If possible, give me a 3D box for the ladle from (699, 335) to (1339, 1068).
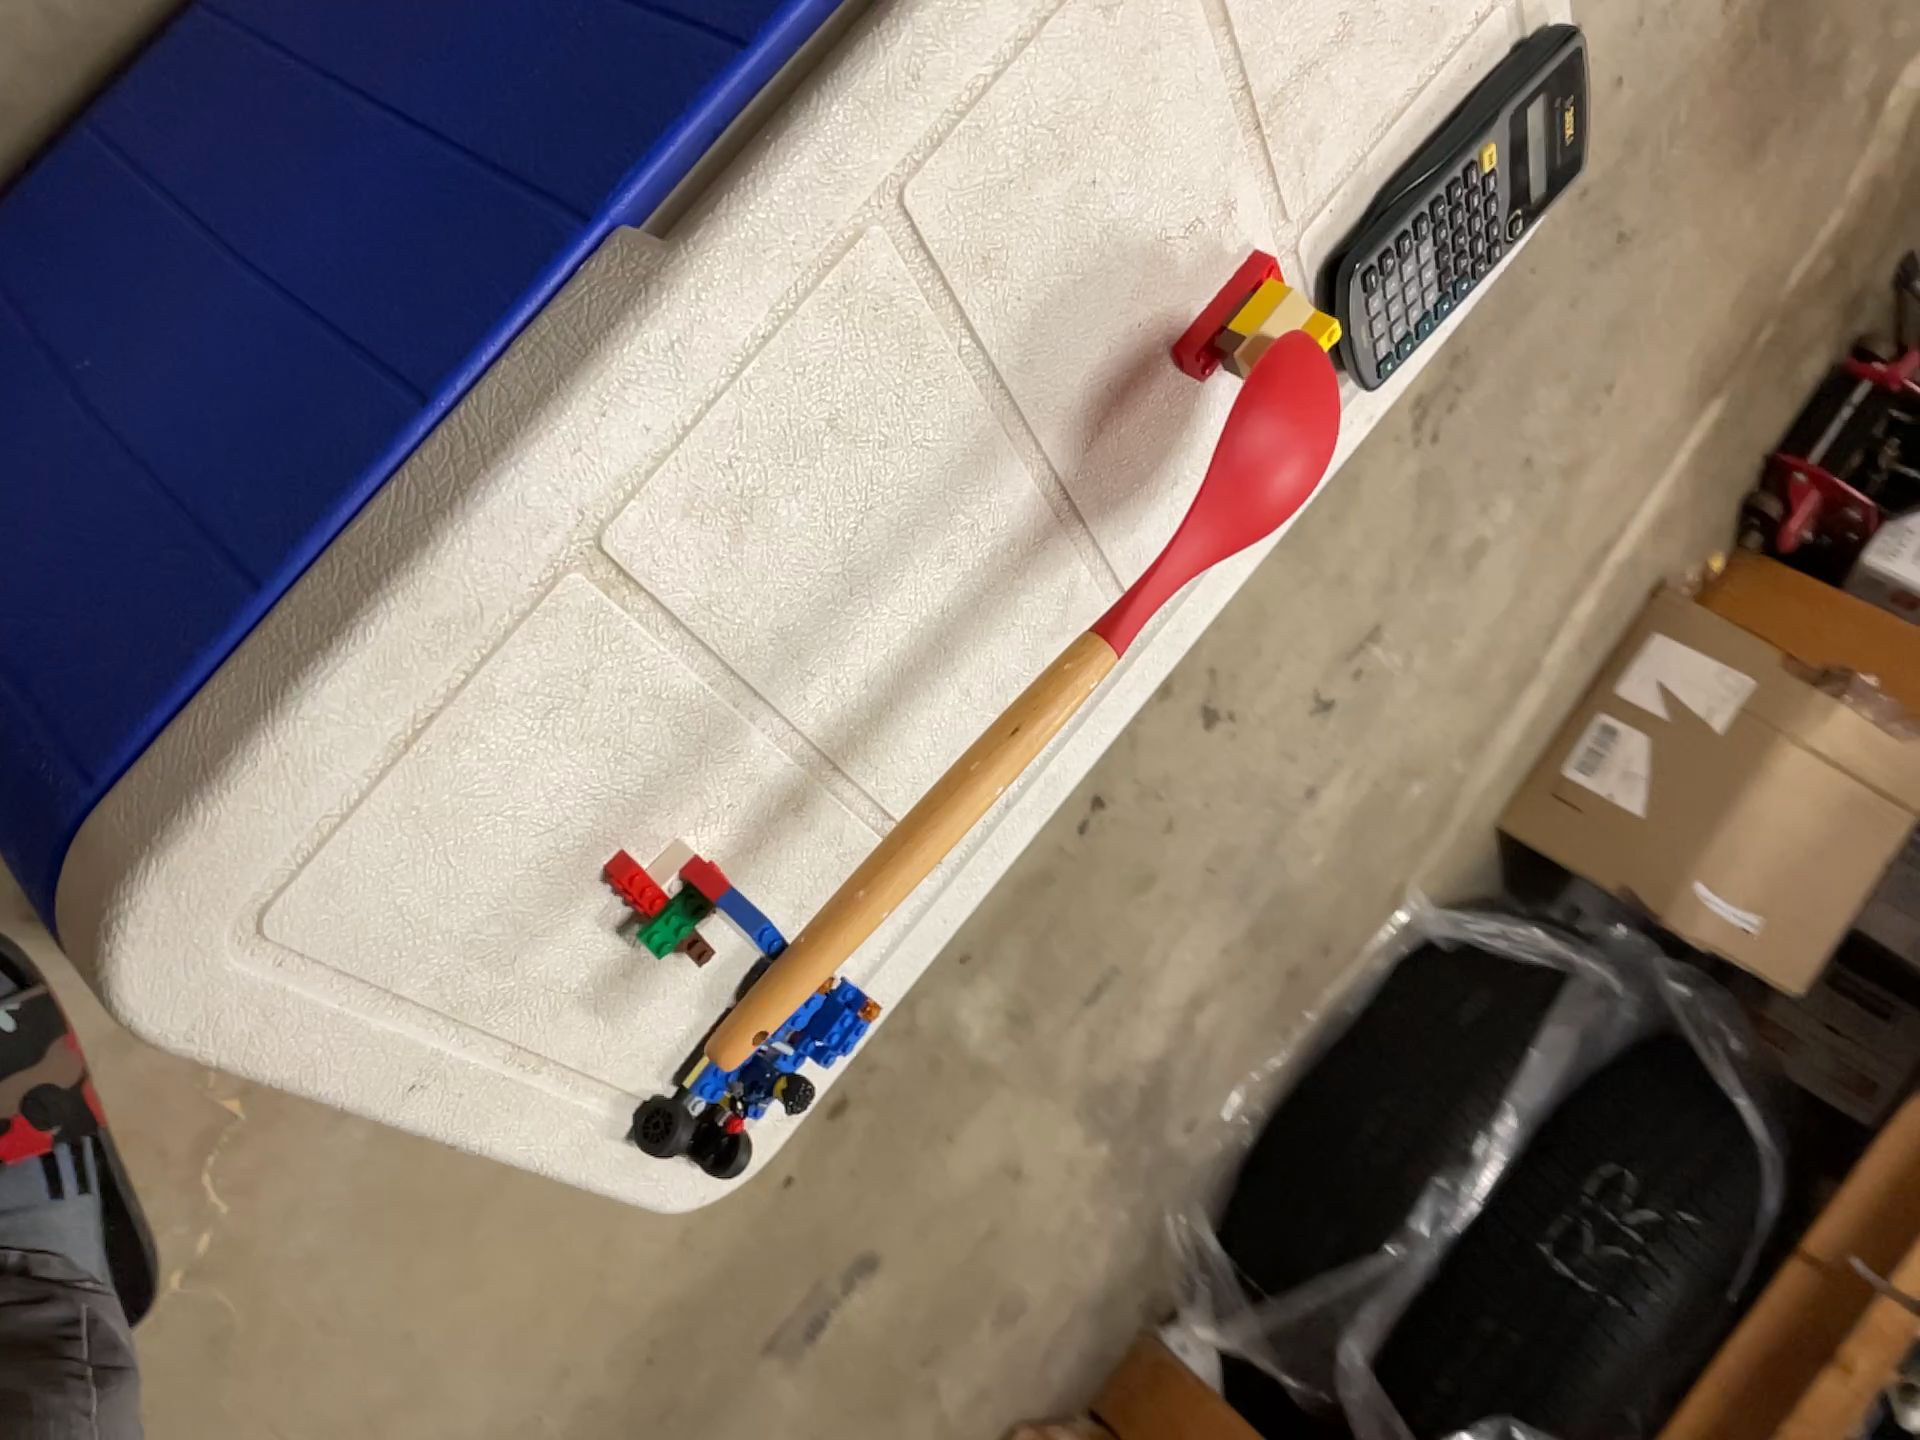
[{"bbox_3d":[0.028,-0.008,0.526,0.315,0.031,0.069,-47,146,-11],"label":"ladle"}]
